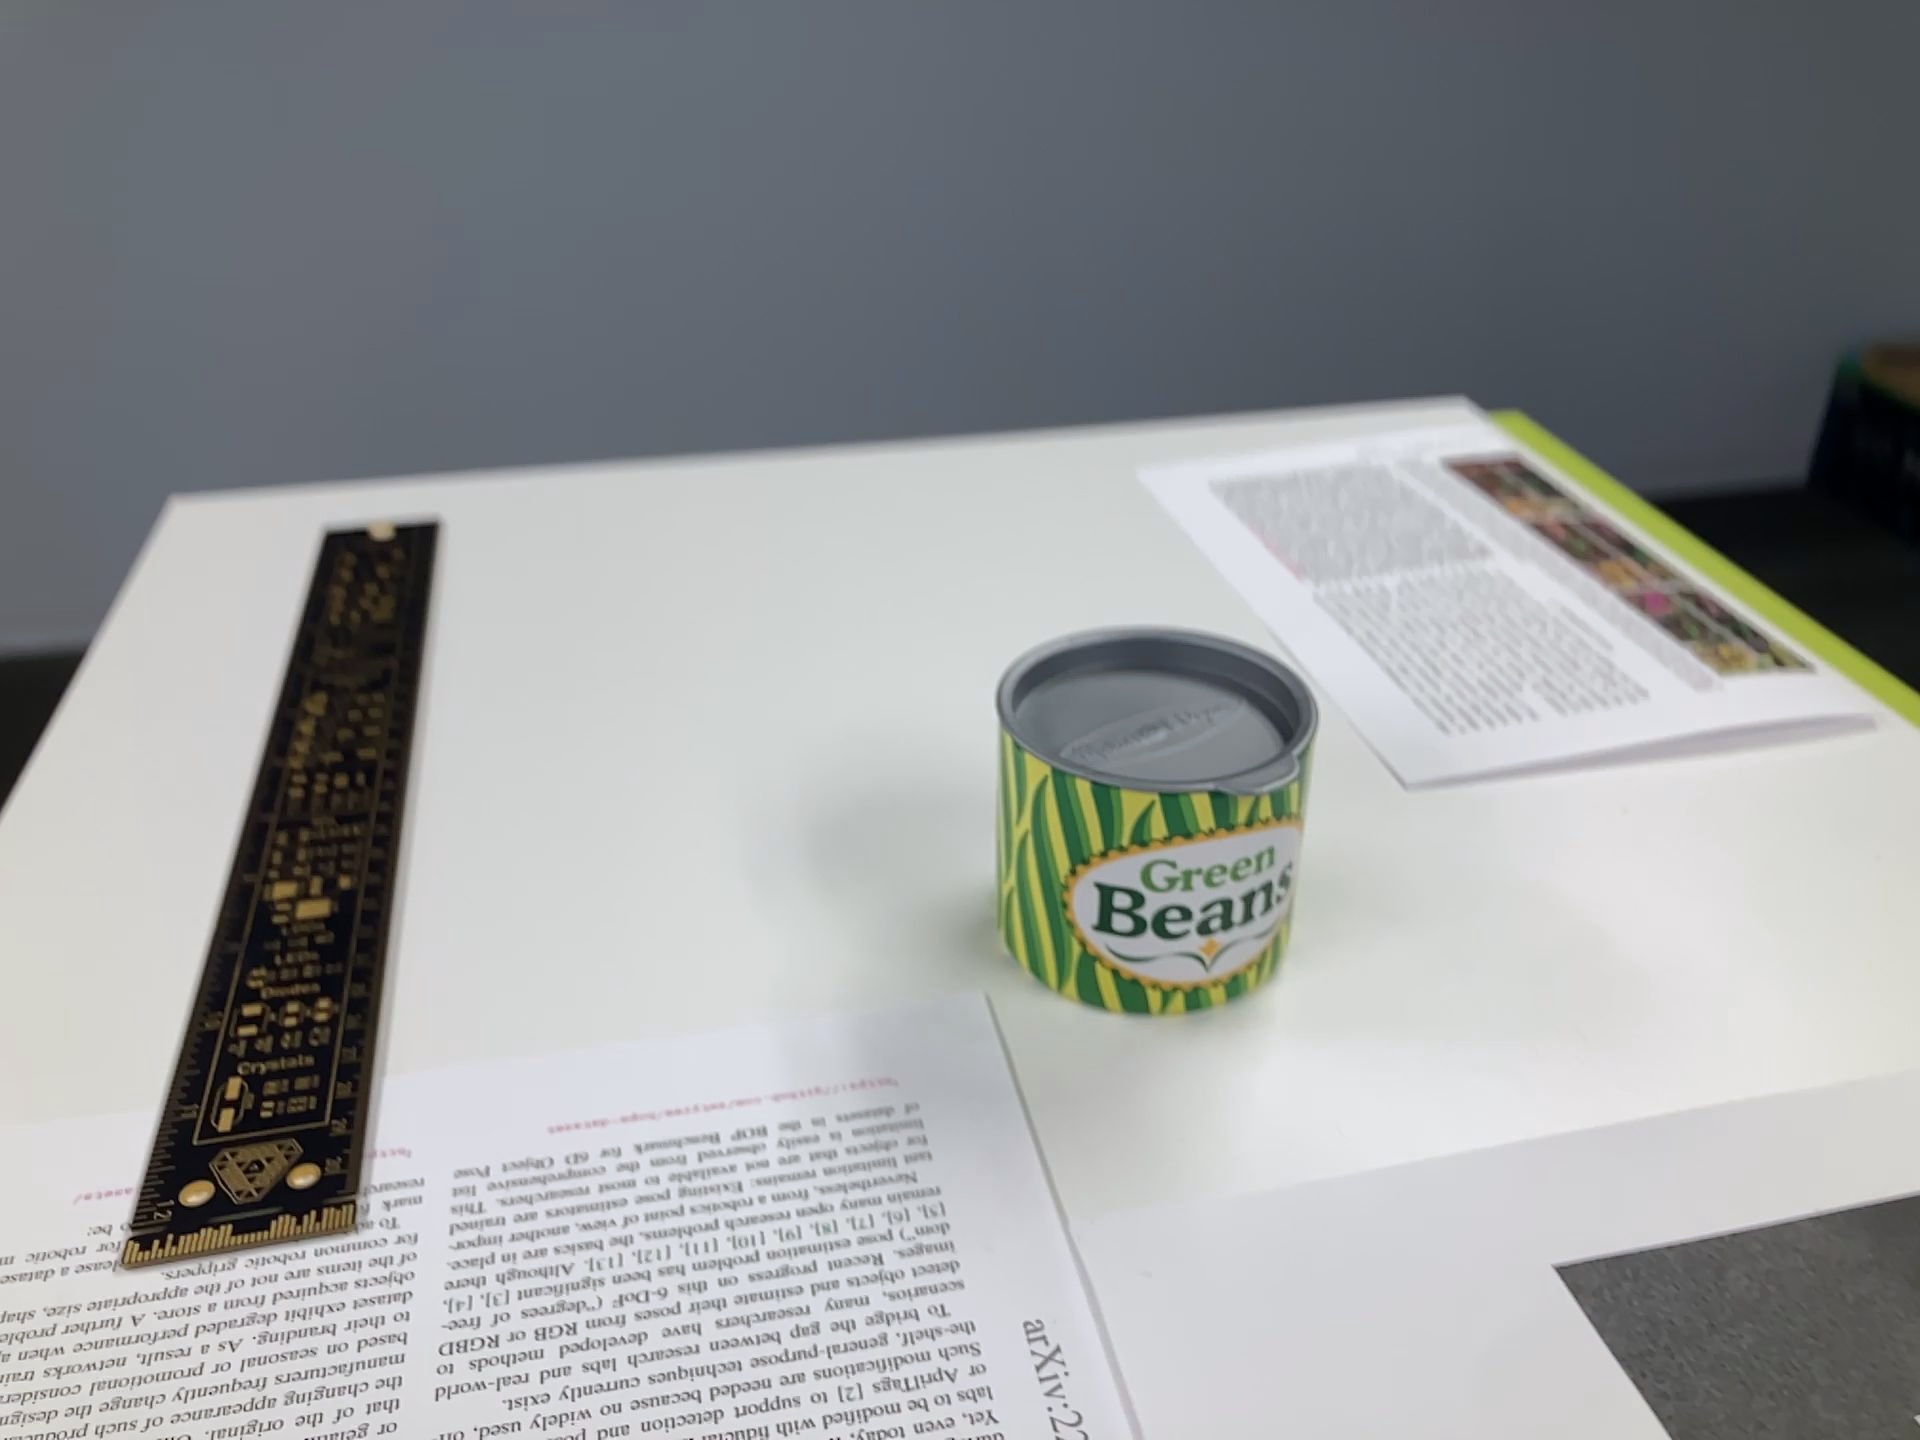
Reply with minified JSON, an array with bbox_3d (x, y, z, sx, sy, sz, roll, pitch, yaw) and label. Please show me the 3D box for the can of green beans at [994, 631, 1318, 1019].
[{"bbox_3d":[0.040,0.022,0.345,0.071,0.058,0.071,-1,31,0],"label":"can of green beans"}]
